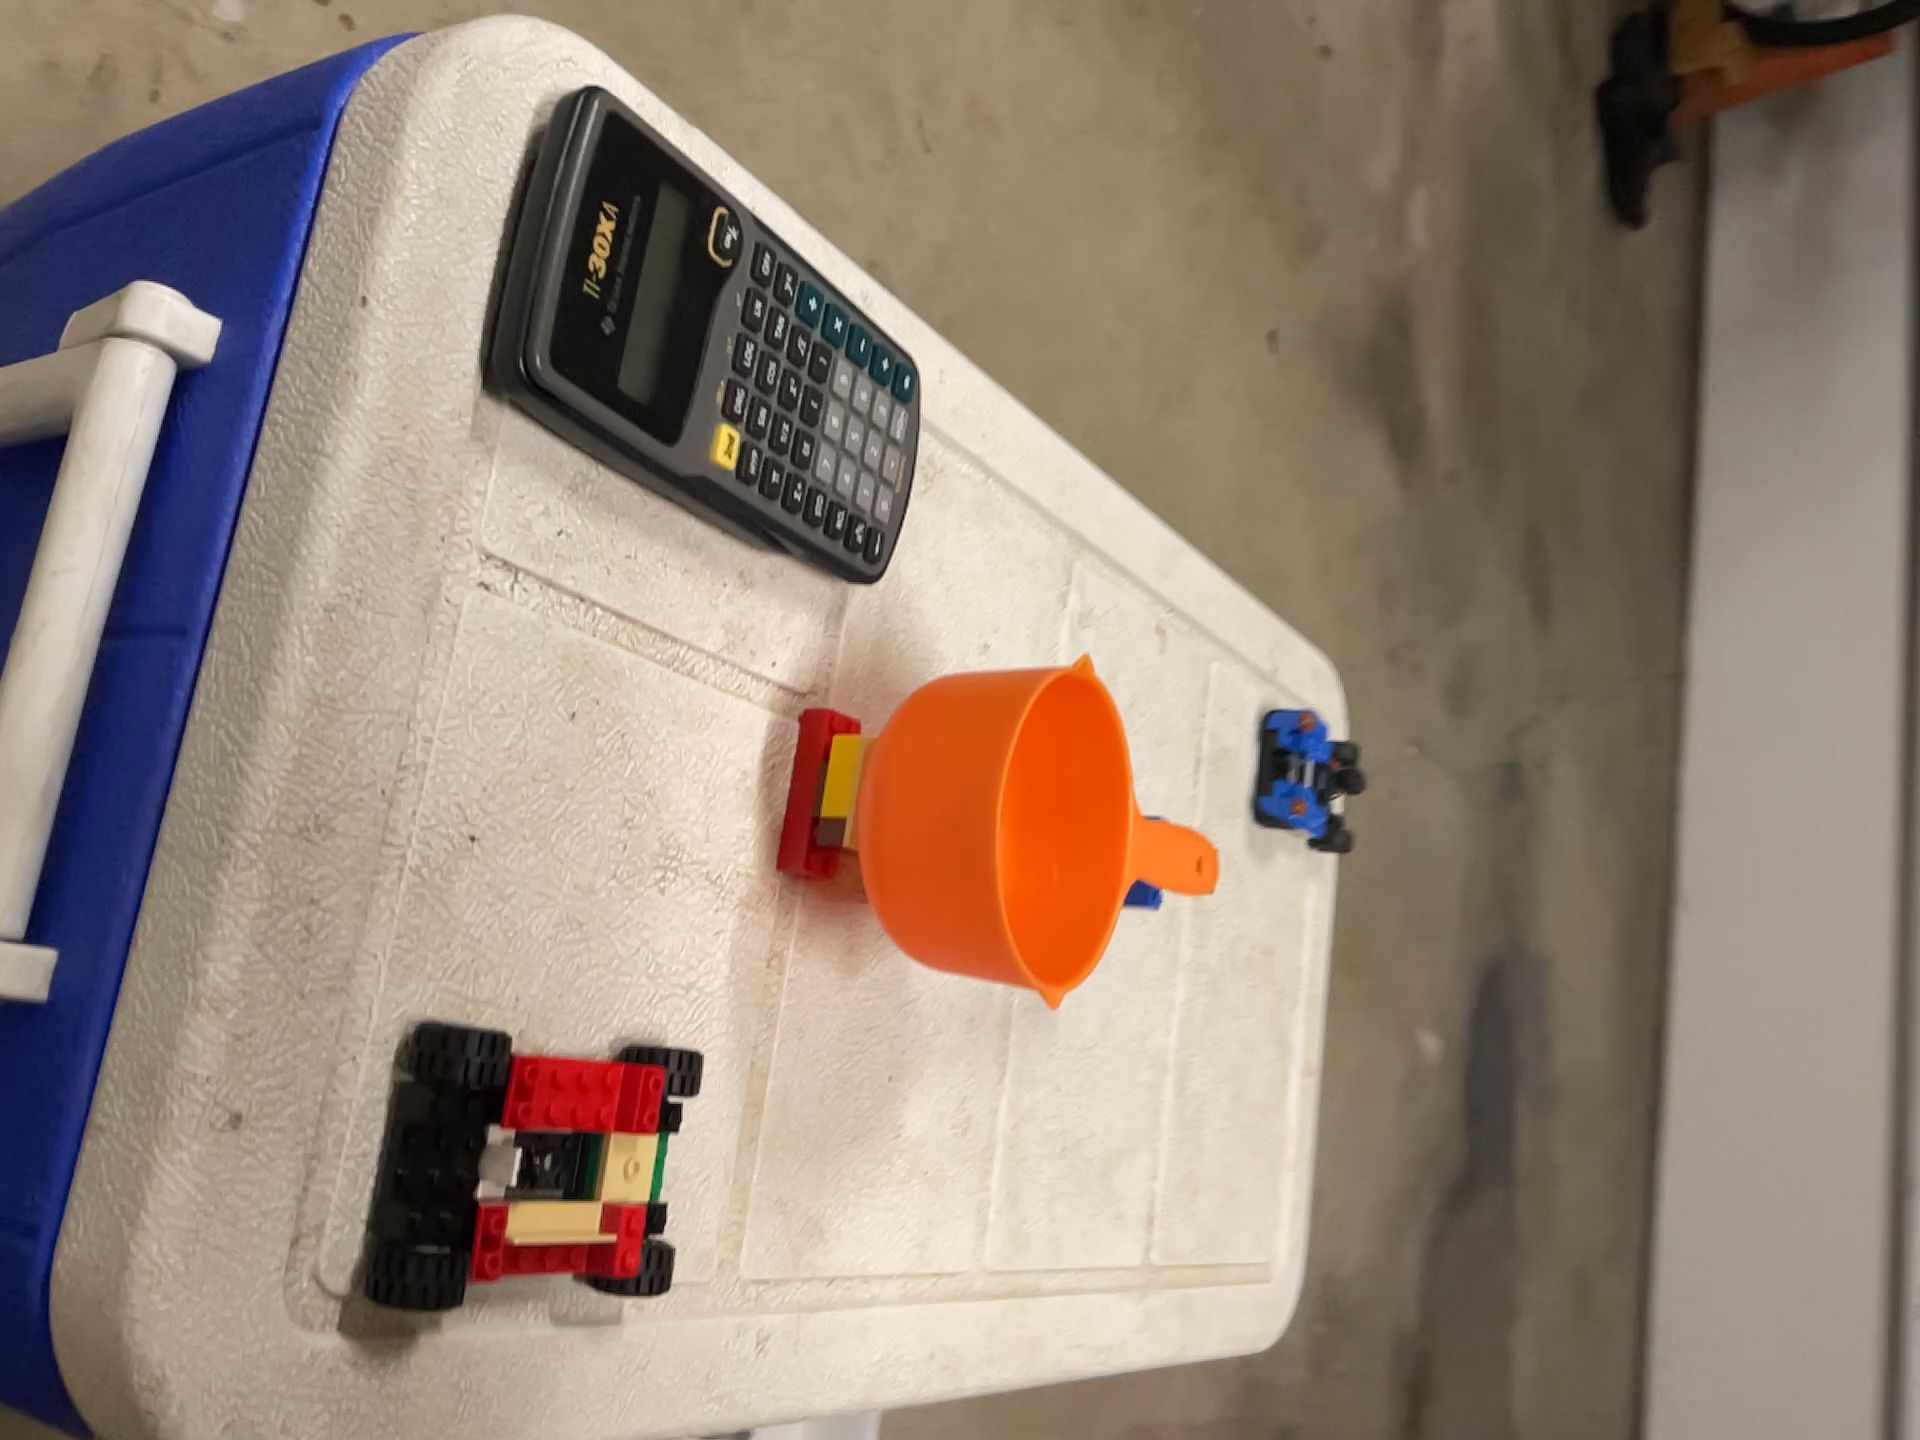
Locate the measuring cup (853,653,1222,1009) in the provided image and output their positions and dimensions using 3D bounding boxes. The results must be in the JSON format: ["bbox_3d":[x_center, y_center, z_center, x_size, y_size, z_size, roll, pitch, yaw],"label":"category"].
[{"bbox_3d":[0.028,0.036,0.474,0.173,0.052,0.095,21,73,-61],"label":"measuring cup"}]
